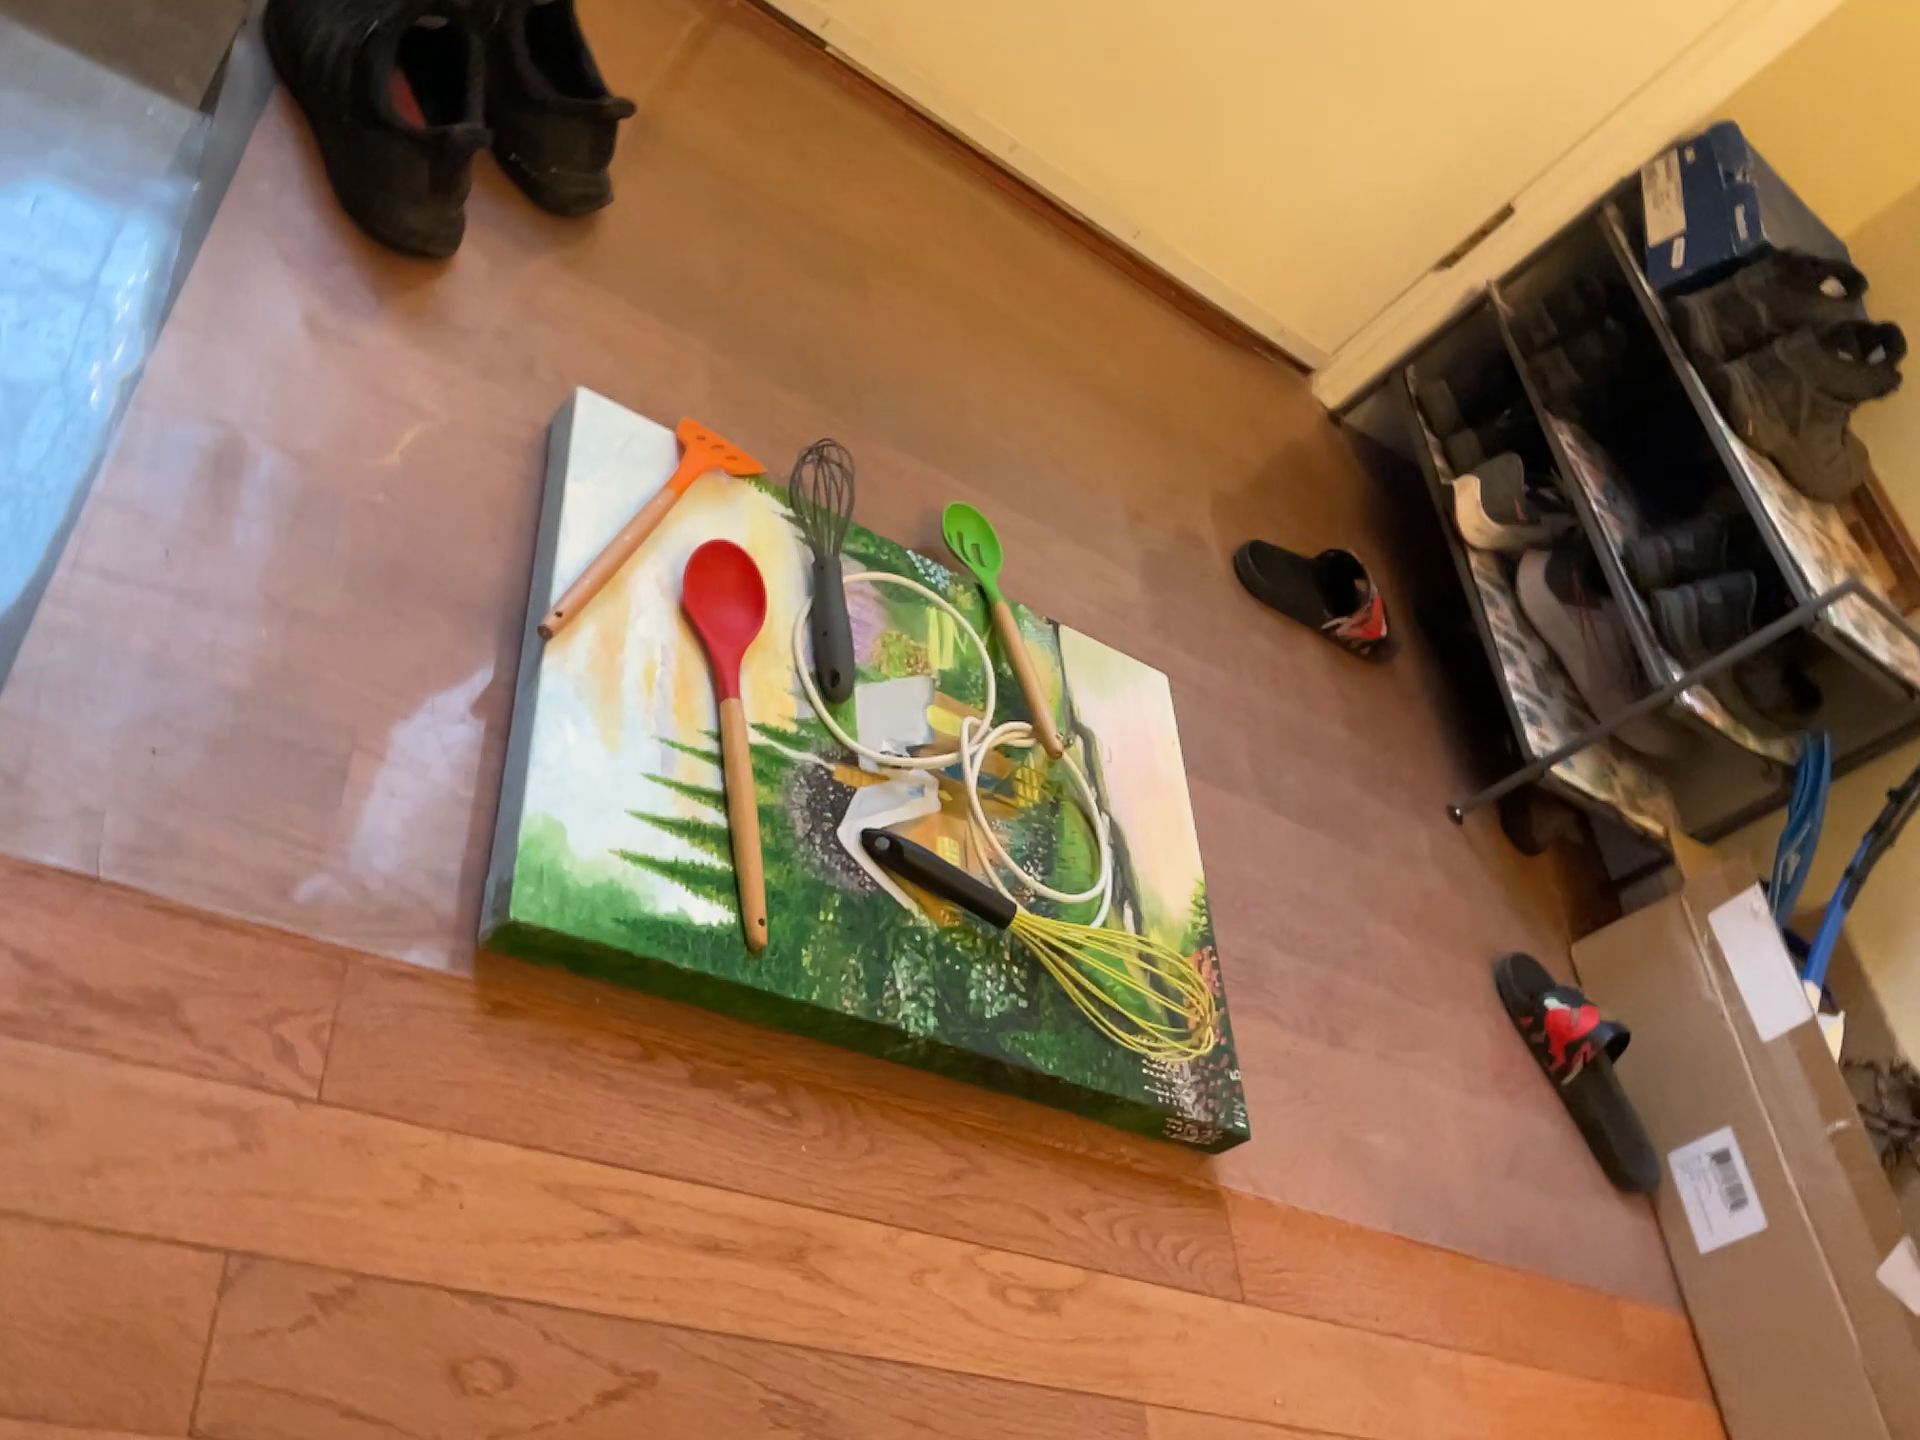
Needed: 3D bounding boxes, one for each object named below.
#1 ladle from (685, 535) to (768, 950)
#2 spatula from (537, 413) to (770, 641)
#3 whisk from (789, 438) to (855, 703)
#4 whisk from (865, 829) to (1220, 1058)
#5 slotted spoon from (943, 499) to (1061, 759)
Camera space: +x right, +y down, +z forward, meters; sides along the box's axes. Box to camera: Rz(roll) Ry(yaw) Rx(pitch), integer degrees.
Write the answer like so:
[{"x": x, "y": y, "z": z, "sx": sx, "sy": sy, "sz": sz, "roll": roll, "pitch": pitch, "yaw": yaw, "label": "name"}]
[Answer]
[{"x": -0.152, "y": 0.009, "z": 1.081, "sx": 0.069, "sy": 0.031, "sz": 0.316, "roll": 15, "pitch": 52, "yaw": -36, "label": "ladle"}, {"x": -0.224, "y": -0.145, "z": 1.153, "sx": 0.081, "sy": 0.041, "sz": 0.323, "roll": 33, "pitch": 41, "yaw": -5, "label": "spatula"}, {"x": -0.101, "y": -0.120, "z": 1.228, "sx": 0.055, "sy": 0.055, "sz": 0.239, "roll": 9, "pitch": 58, "yaw": -29, "label": "whisk"}, {"x": 0.061, "y": 0.159, "z": 1.157, "sx": 0.311, "sy": 0.067, "sz": 0.080, "roll": 32, "pitch": 35, "yaw": -15, "label": "whisk"}, {"x": 0.037, "y": -0.081, "z": 1.343, "sx": 0.070, "sy": 0.031, "sz": 0.314, "roll": 22, "pitch": 34, "yaw": -34, "label": "slotted spoon"}]
